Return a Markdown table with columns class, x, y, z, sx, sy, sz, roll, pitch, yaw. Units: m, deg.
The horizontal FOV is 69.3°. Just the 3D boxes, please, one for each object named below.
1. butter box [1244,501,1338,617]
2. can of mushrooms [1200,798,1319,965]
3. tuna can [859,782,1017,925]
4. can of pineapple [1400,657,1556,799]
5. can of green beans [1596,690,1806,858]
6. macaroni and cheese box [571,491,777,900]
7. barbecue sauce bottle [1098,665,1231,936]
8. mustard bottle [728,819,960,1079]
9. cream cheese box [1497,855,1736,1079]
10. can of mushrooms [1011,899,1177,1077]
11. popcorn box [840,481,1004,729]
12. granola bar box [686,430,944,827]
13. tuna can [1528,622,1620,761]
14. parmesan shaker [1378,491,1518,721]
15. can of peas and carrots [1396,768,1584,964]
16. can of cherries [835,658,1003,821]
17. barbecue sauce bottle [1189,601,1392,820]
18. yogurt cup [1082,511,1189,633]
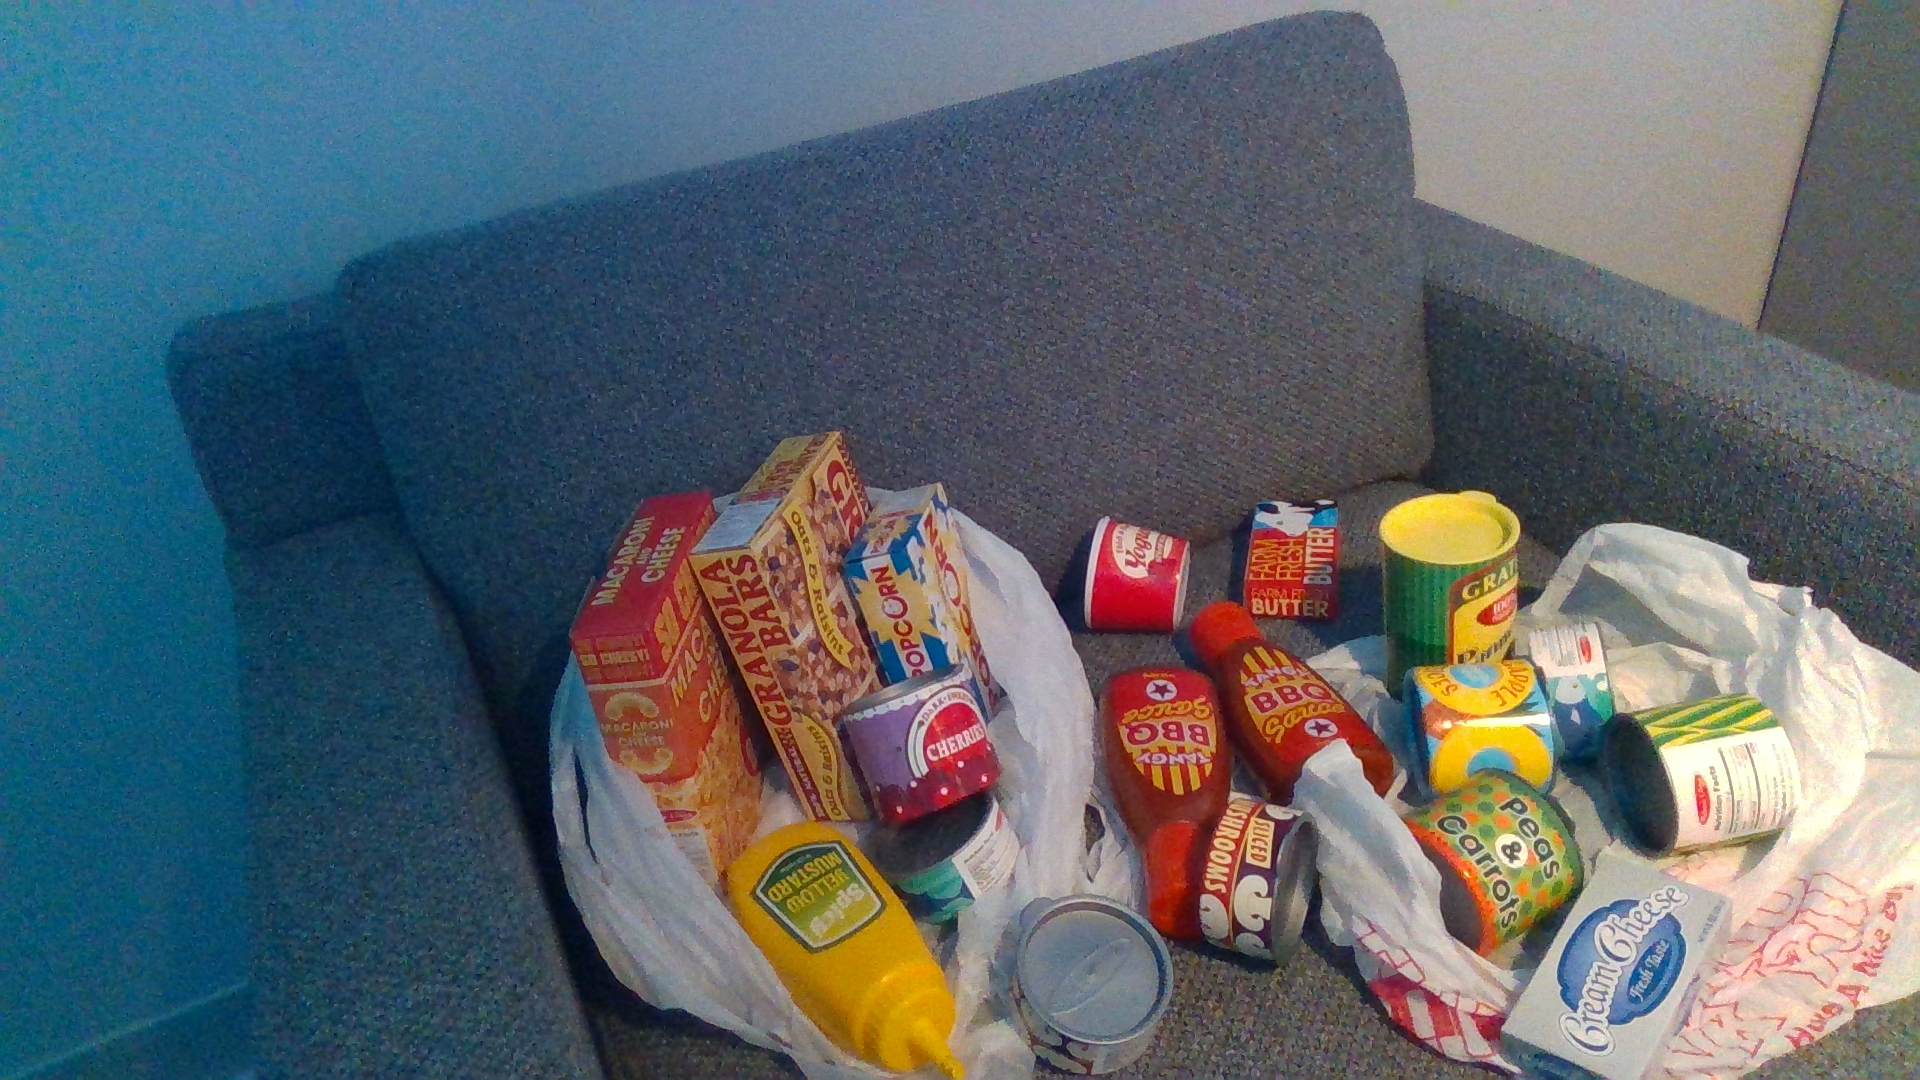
| class | x | y | z | sx | sy | sz | roll | pitch | yaw |
| --- | --- | --- | --- | --- | --- | --- | --- | --- | --- |
| butter box | 0.204 | 0.011 | 0.852 | 0.053 | 0.024 | 0.104 | -1 | 30 | 17 |
| can of mushrooms | 0.131 | 0.147 | 0.606 | 0.033 | 0.070 | 0.071 | 9 | 35 | 30 |
| tuna can | -0.011 | 0.146 | 0.651 | 0.071 | 0.032 | 0.071 | -24 | 20 | 10 |
| can of pineapple | 0.249 | 0.090 | 0.672 | 0.058 | 0.070 | 0.071 | -5 | 31 | 7 |
| can of green beans | 0.333 | 0.104 | 0.625 | 0.058 | 0.071 | 0.071 | -10 | 31 | -1 |
| macaroni and cheese box | -0.135 | 0.079 | 0.680 | 0.040 | 0.165 | 0.124 | -6 | 29 | 7 |
| barbecue sauce bottle | 0.103 | 0.123 | 0.676 | 0.065 | 0.043 | 0.149 | 0 | 34 | 1 |
| mustard bottle | -0.043 | 0.182 | 0.603 | 0.065 | 0.048 | 0.160 | -28 | 35 | -24 |
| cream cheese box | 0.262 | 0.175 | 0.552 | 0.053 | 0.024 | 0.104 | 13 | 43 | 44 |
| can of mushrooms | 0.054 | 0.187 | 0.585 | 0.071 | 0.033 | 0.071 | 4 | 42 | -4 |
| popcorn box | -0.014 | 0.044 | 0.736 | 0.038 | 0.126 | 0.085 | -12 | 21 | 20 |
| granola bar box | -0.067 | 0.043 | 0.718 | 0.039 | 0.165 | 0.125 | -10 | 26 | 23 |
| tuna can | 0.301 | 0.077 | 0.683 | 0.033 | 0.070 | 0.071 | -9 | 30 | 20 |
| parmesan shaker | 0.256 | 0.036 | 0.722 | 0.071 | 0.102 | 0.071 | -9 | 29 | 6 |
| can of peas and carrots | 0.223 | 0.140 | 0.598 | 0.059 | 0.070 | 0.071 | -23 | 34 | -22 |
| can of cherries | -0.018 | 0.095 | 0.668 | 0.071 | 0.058 | 0.071 | -20 | 3 | 1 |
| barbecue sauce bottle | 0.163 | 0.085 | 0.728 | 0.065 | 0.043 | 0.149 | -8 | 30 | -11 |
| yogurt cup | 0.104 | 0.024 | 0.817 | 0.054 | 0.072 | 0.073 | 8 | 34 | 12 |
